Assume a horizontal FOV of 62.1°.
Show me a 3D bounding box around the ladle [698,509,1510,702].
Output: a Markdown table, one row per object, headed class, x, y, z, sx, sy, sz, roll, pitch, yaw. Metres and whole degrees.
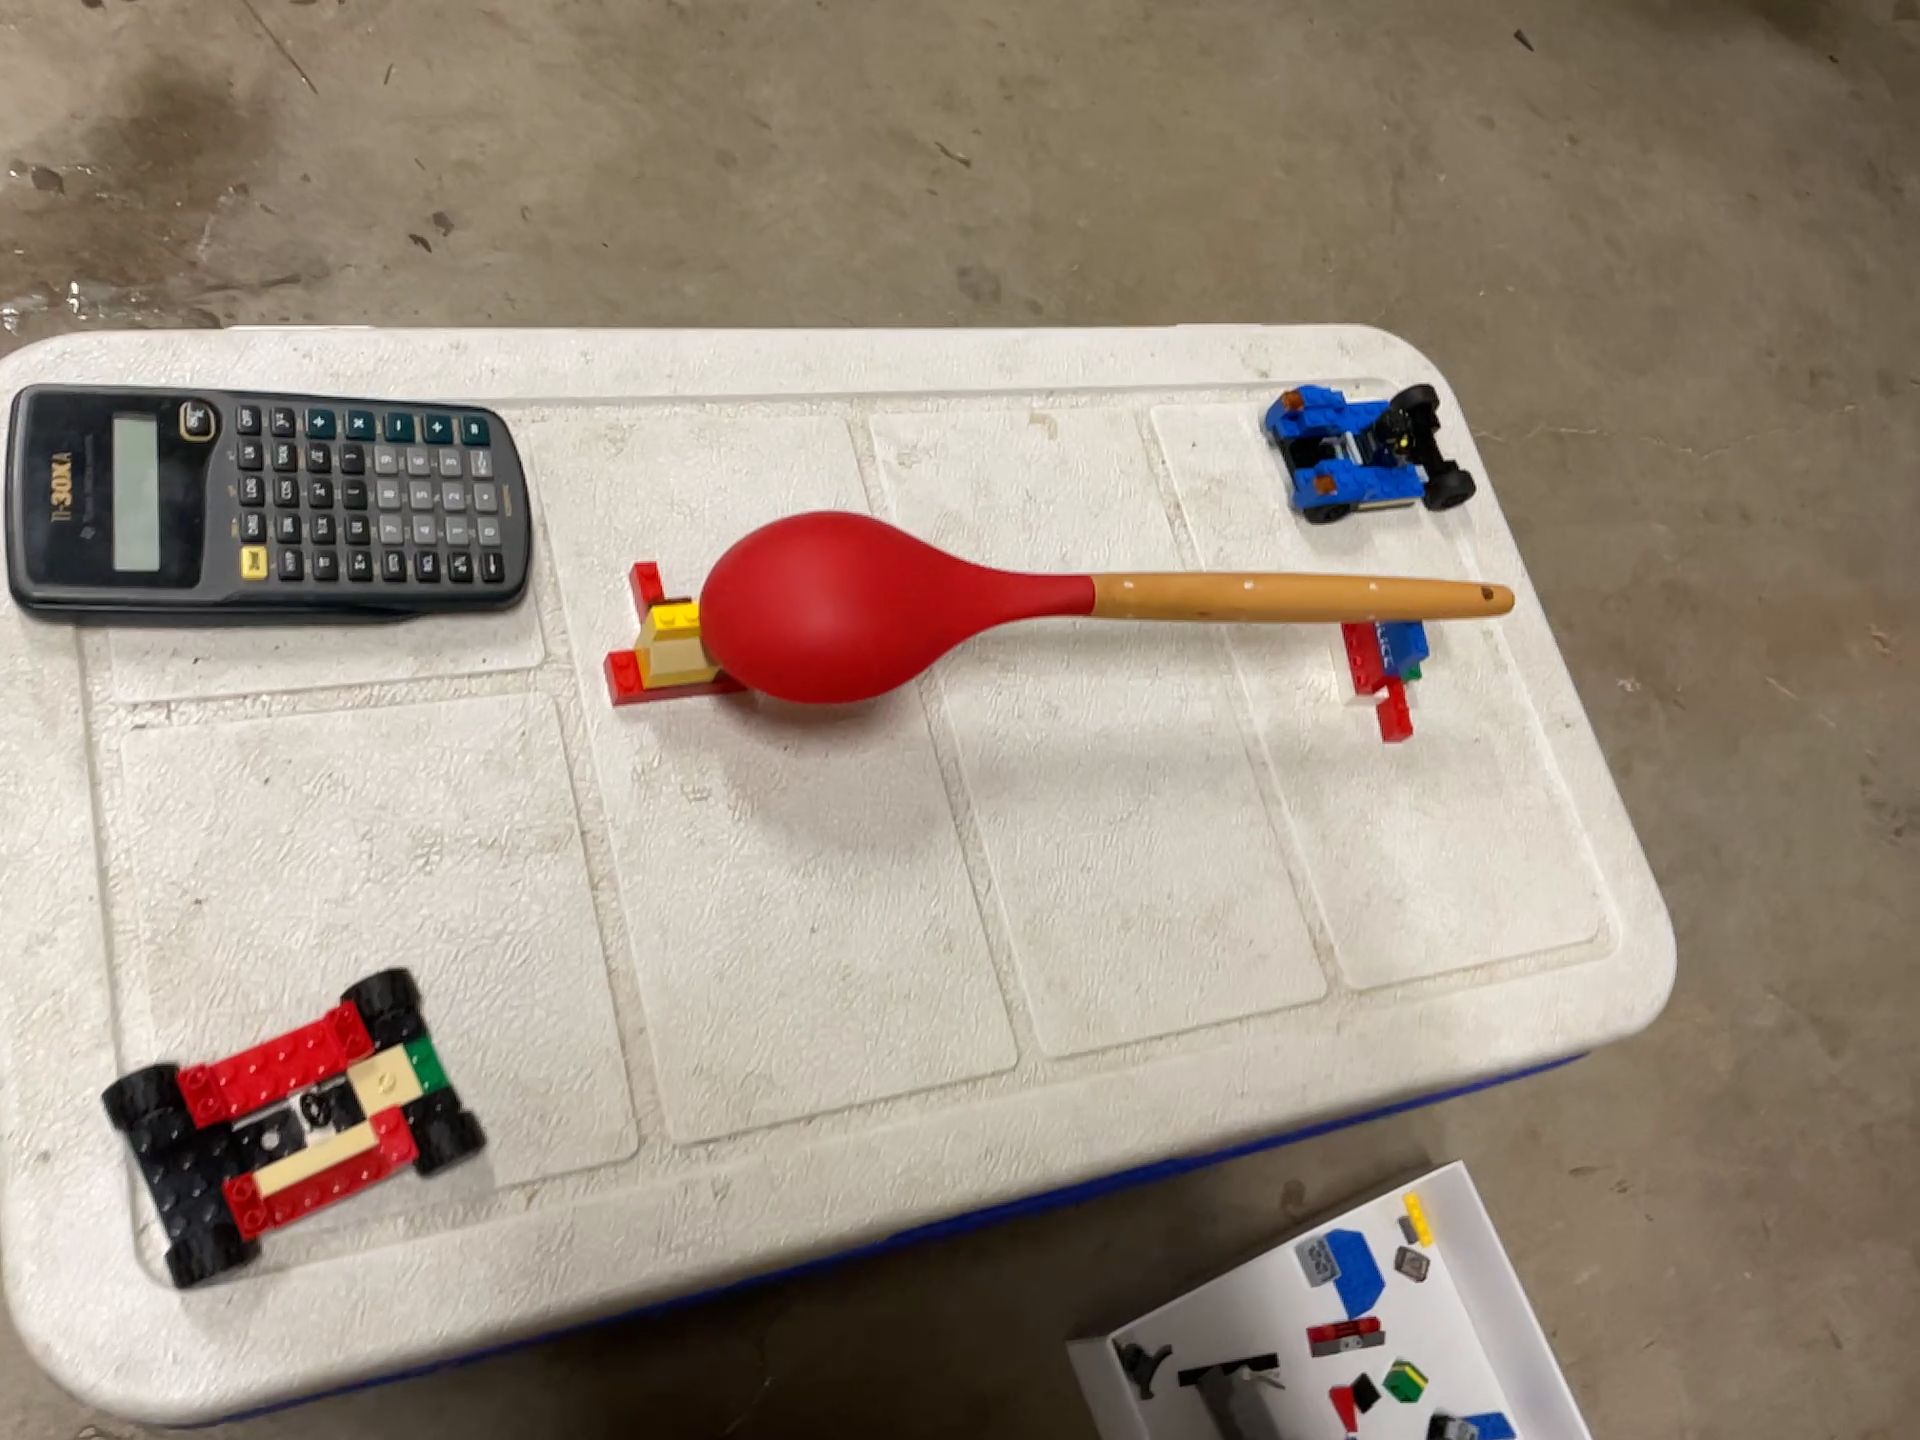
| class | x | y | z | sx | sy | sz | roll | pitch | yaw |
| --- | --- | --- | --- | --- | --- | --- | --- | --- | --- |
| ladle | 0.066 | -0.041 | 0.559 | 0.315 | 0.031 | 0.069 | -1 | 67 | -23 |
